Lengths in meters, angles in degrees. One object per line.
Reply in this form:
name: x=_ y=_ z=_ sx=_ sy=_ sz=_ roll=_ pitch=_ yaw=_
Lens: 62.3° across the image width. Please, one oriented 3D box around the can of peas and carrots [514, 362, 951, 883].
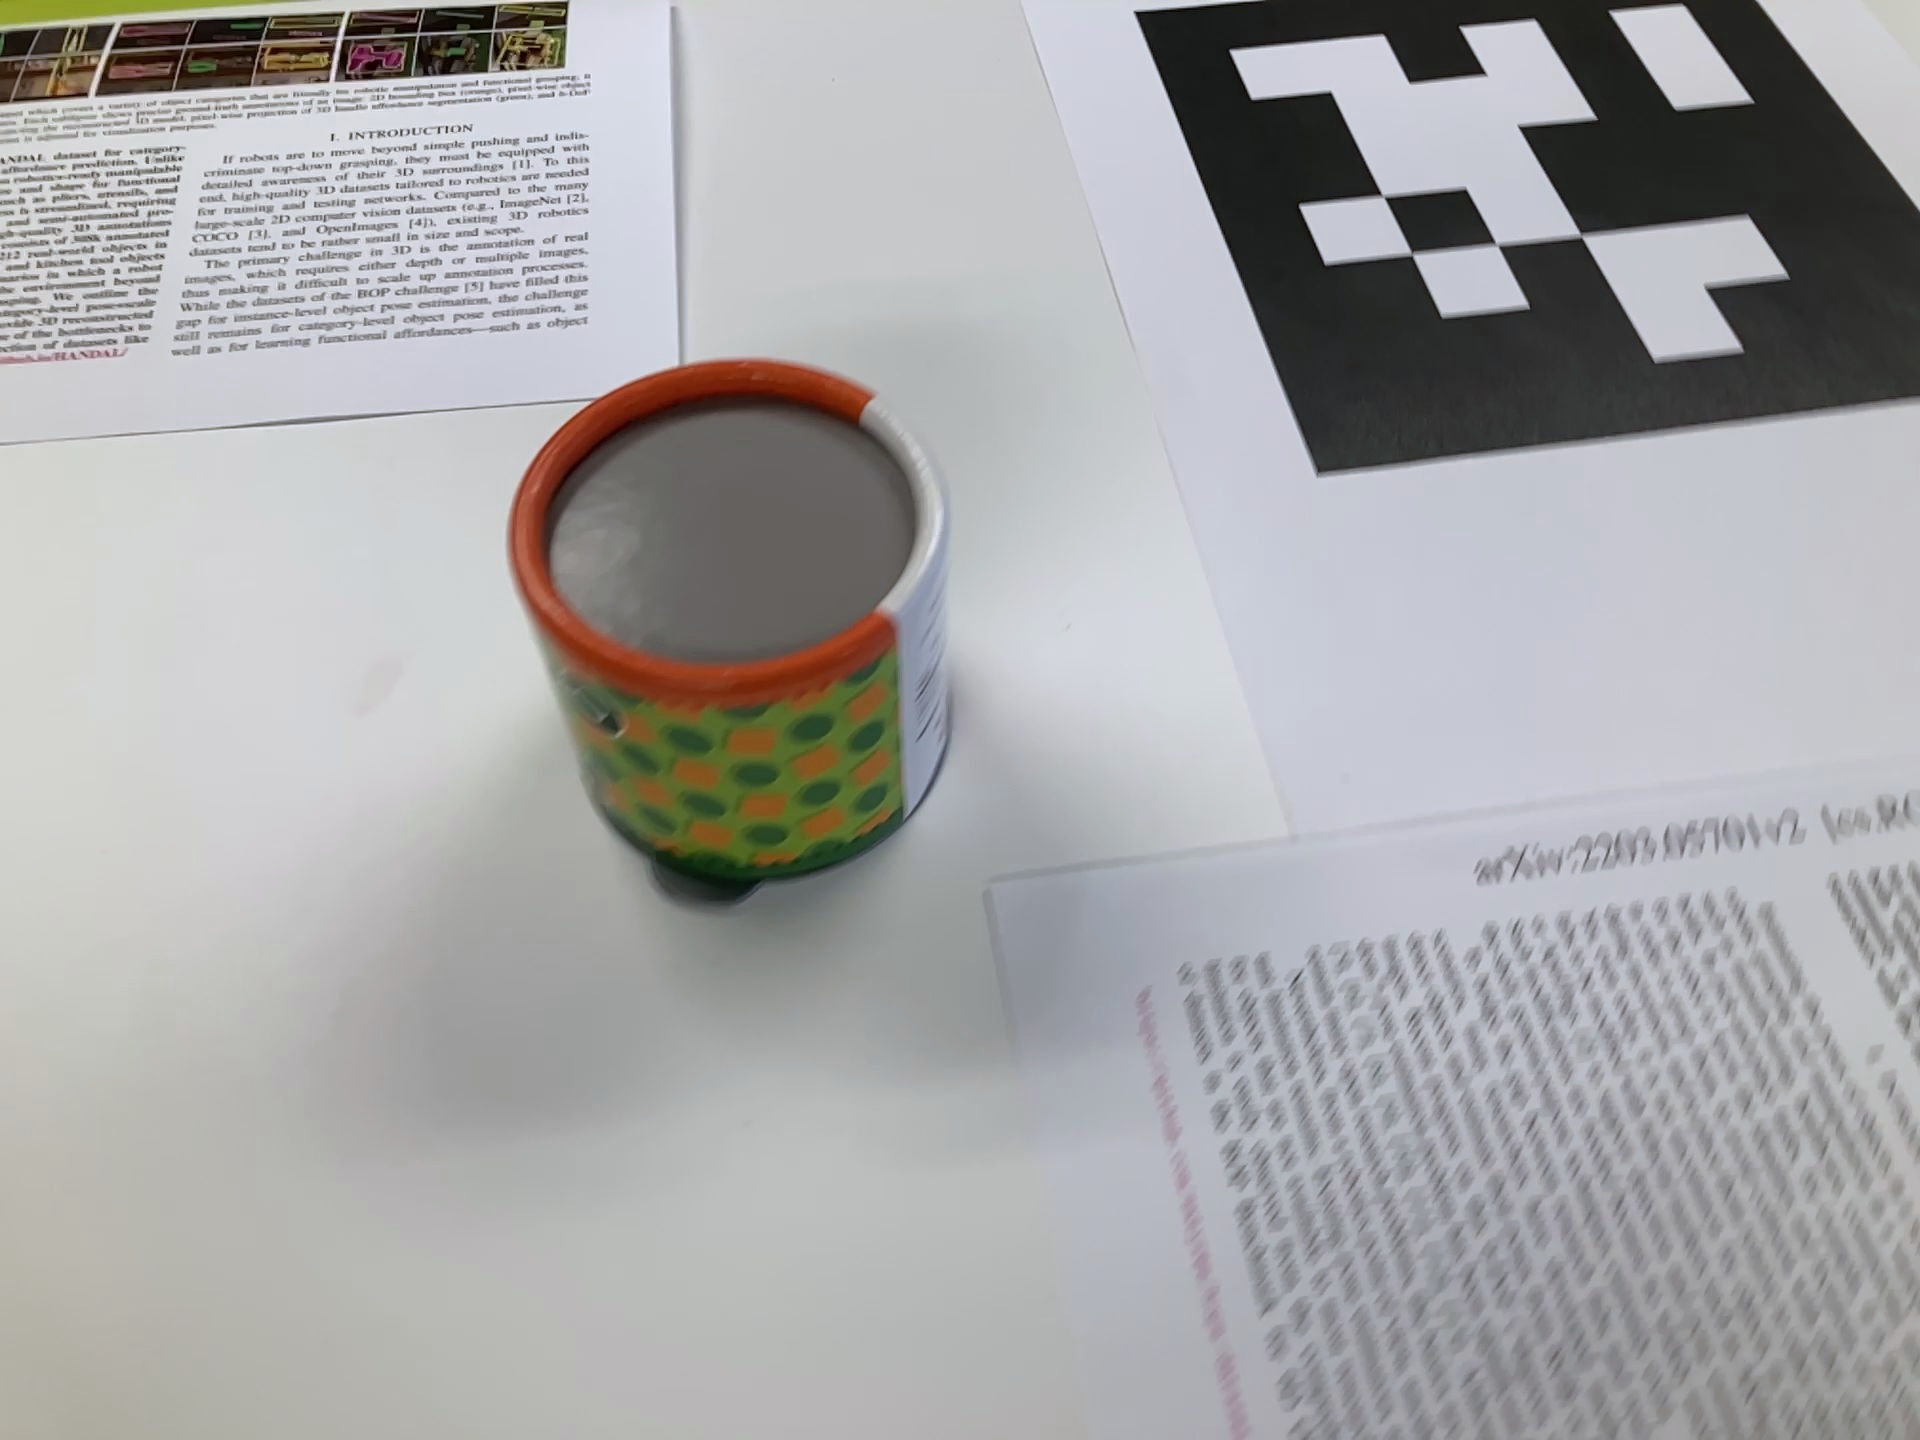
can of peas and carrots: x=-0.037 y=-0.016 z=0.263 sx=0.071 sy=0.059 sz=0.071 roll=0 pitch=55 yaw=0
